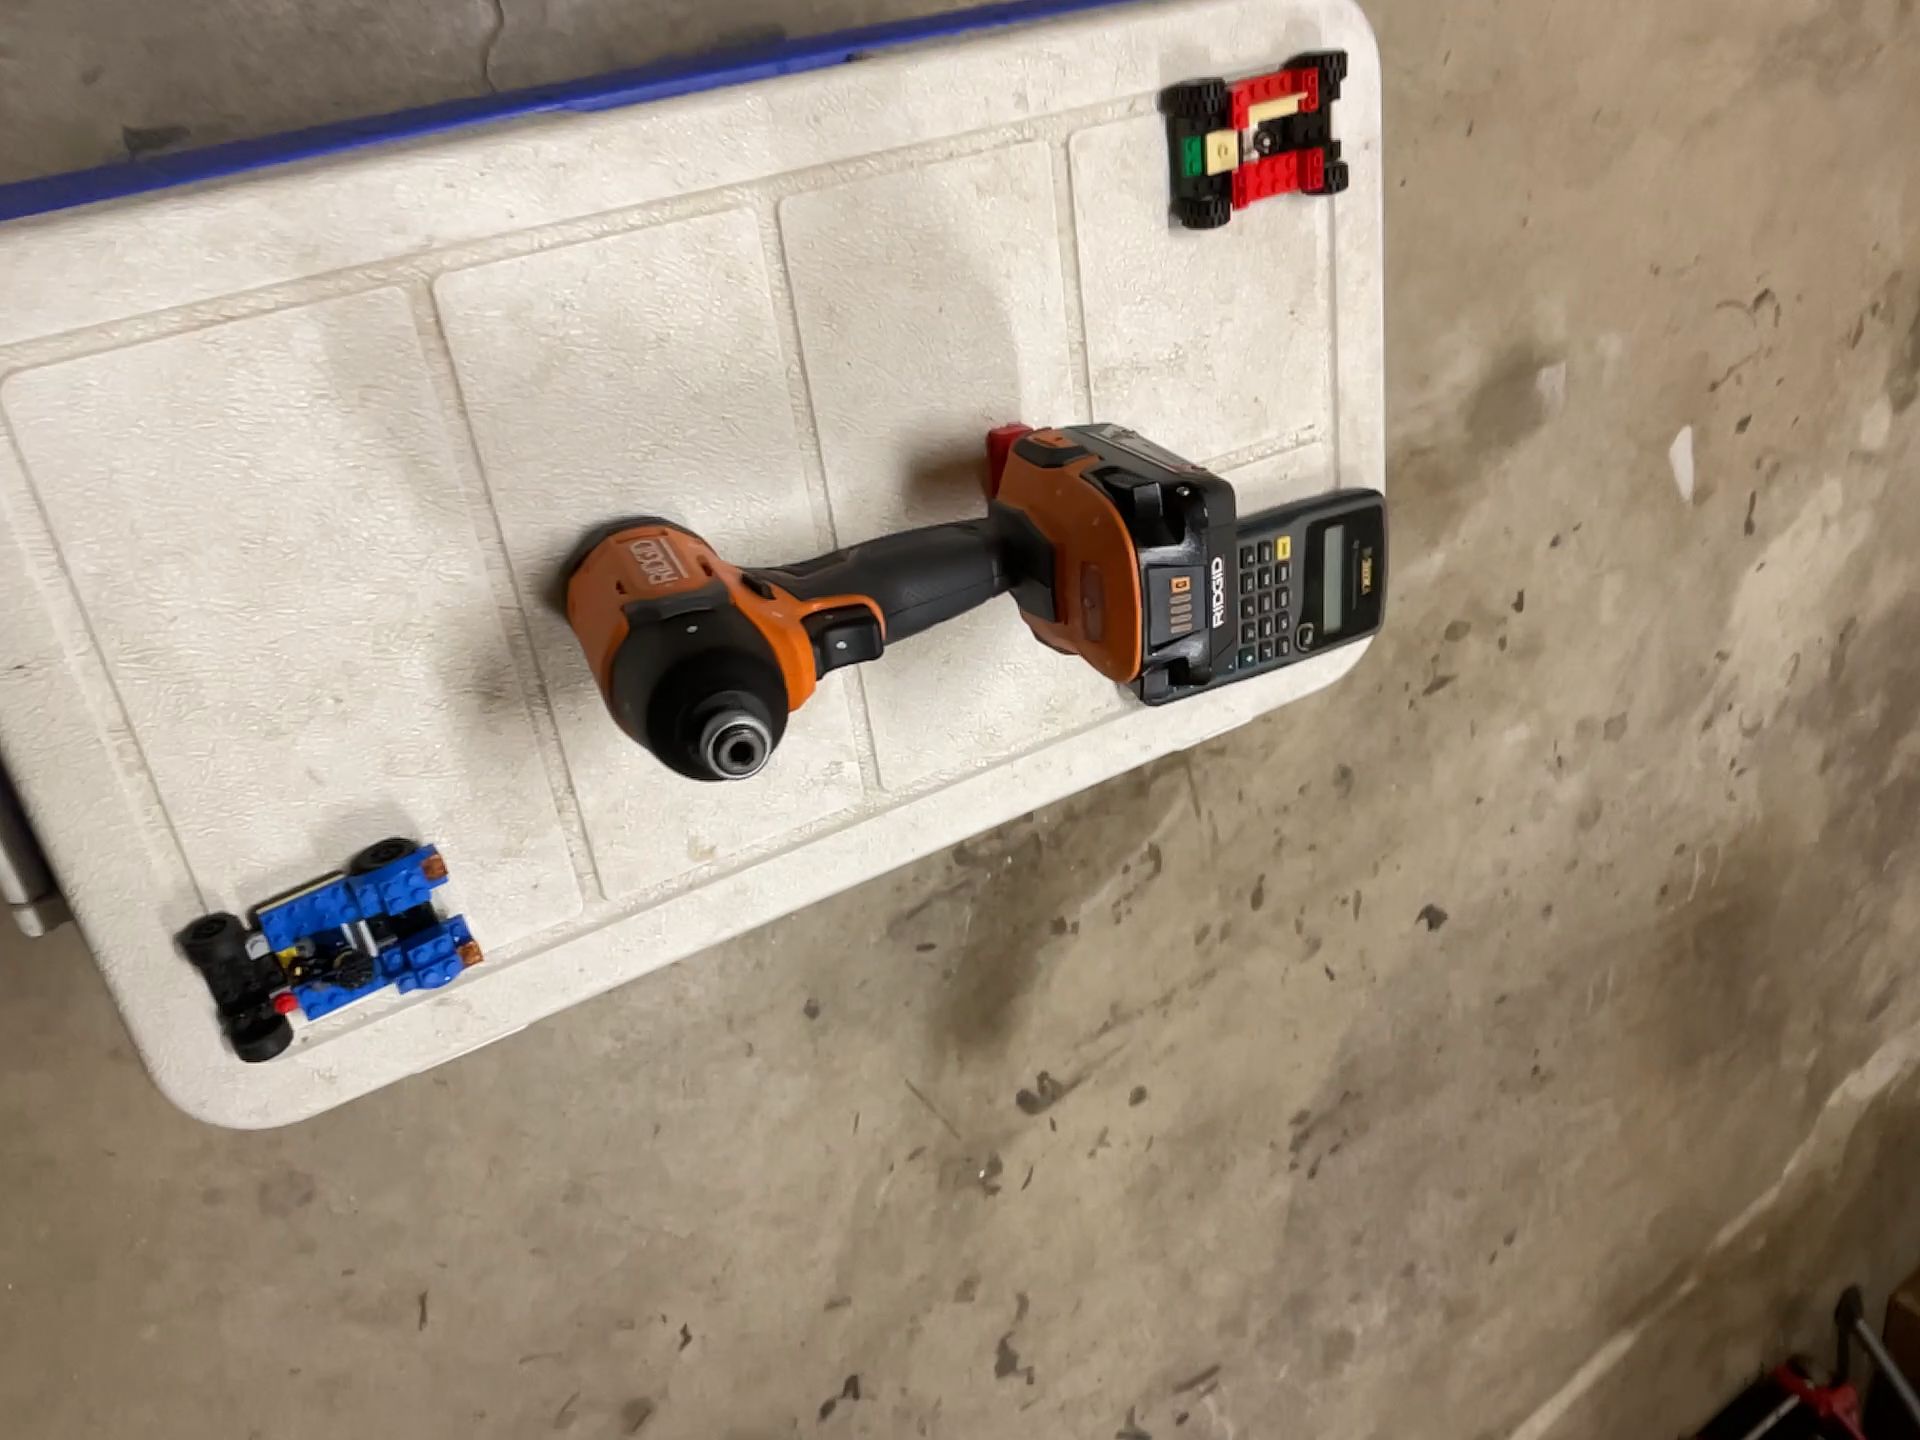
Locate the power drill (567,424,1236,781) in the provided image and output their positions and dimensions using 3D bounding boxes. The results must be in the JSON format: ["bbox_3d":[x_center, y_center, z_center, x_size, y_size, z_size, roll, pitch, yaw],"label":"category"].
[{"bbox_3d":[-0.018,-0.039,0.574,0.227,0.164,0.084,-13,117,-15],"label":"power drill"}]
